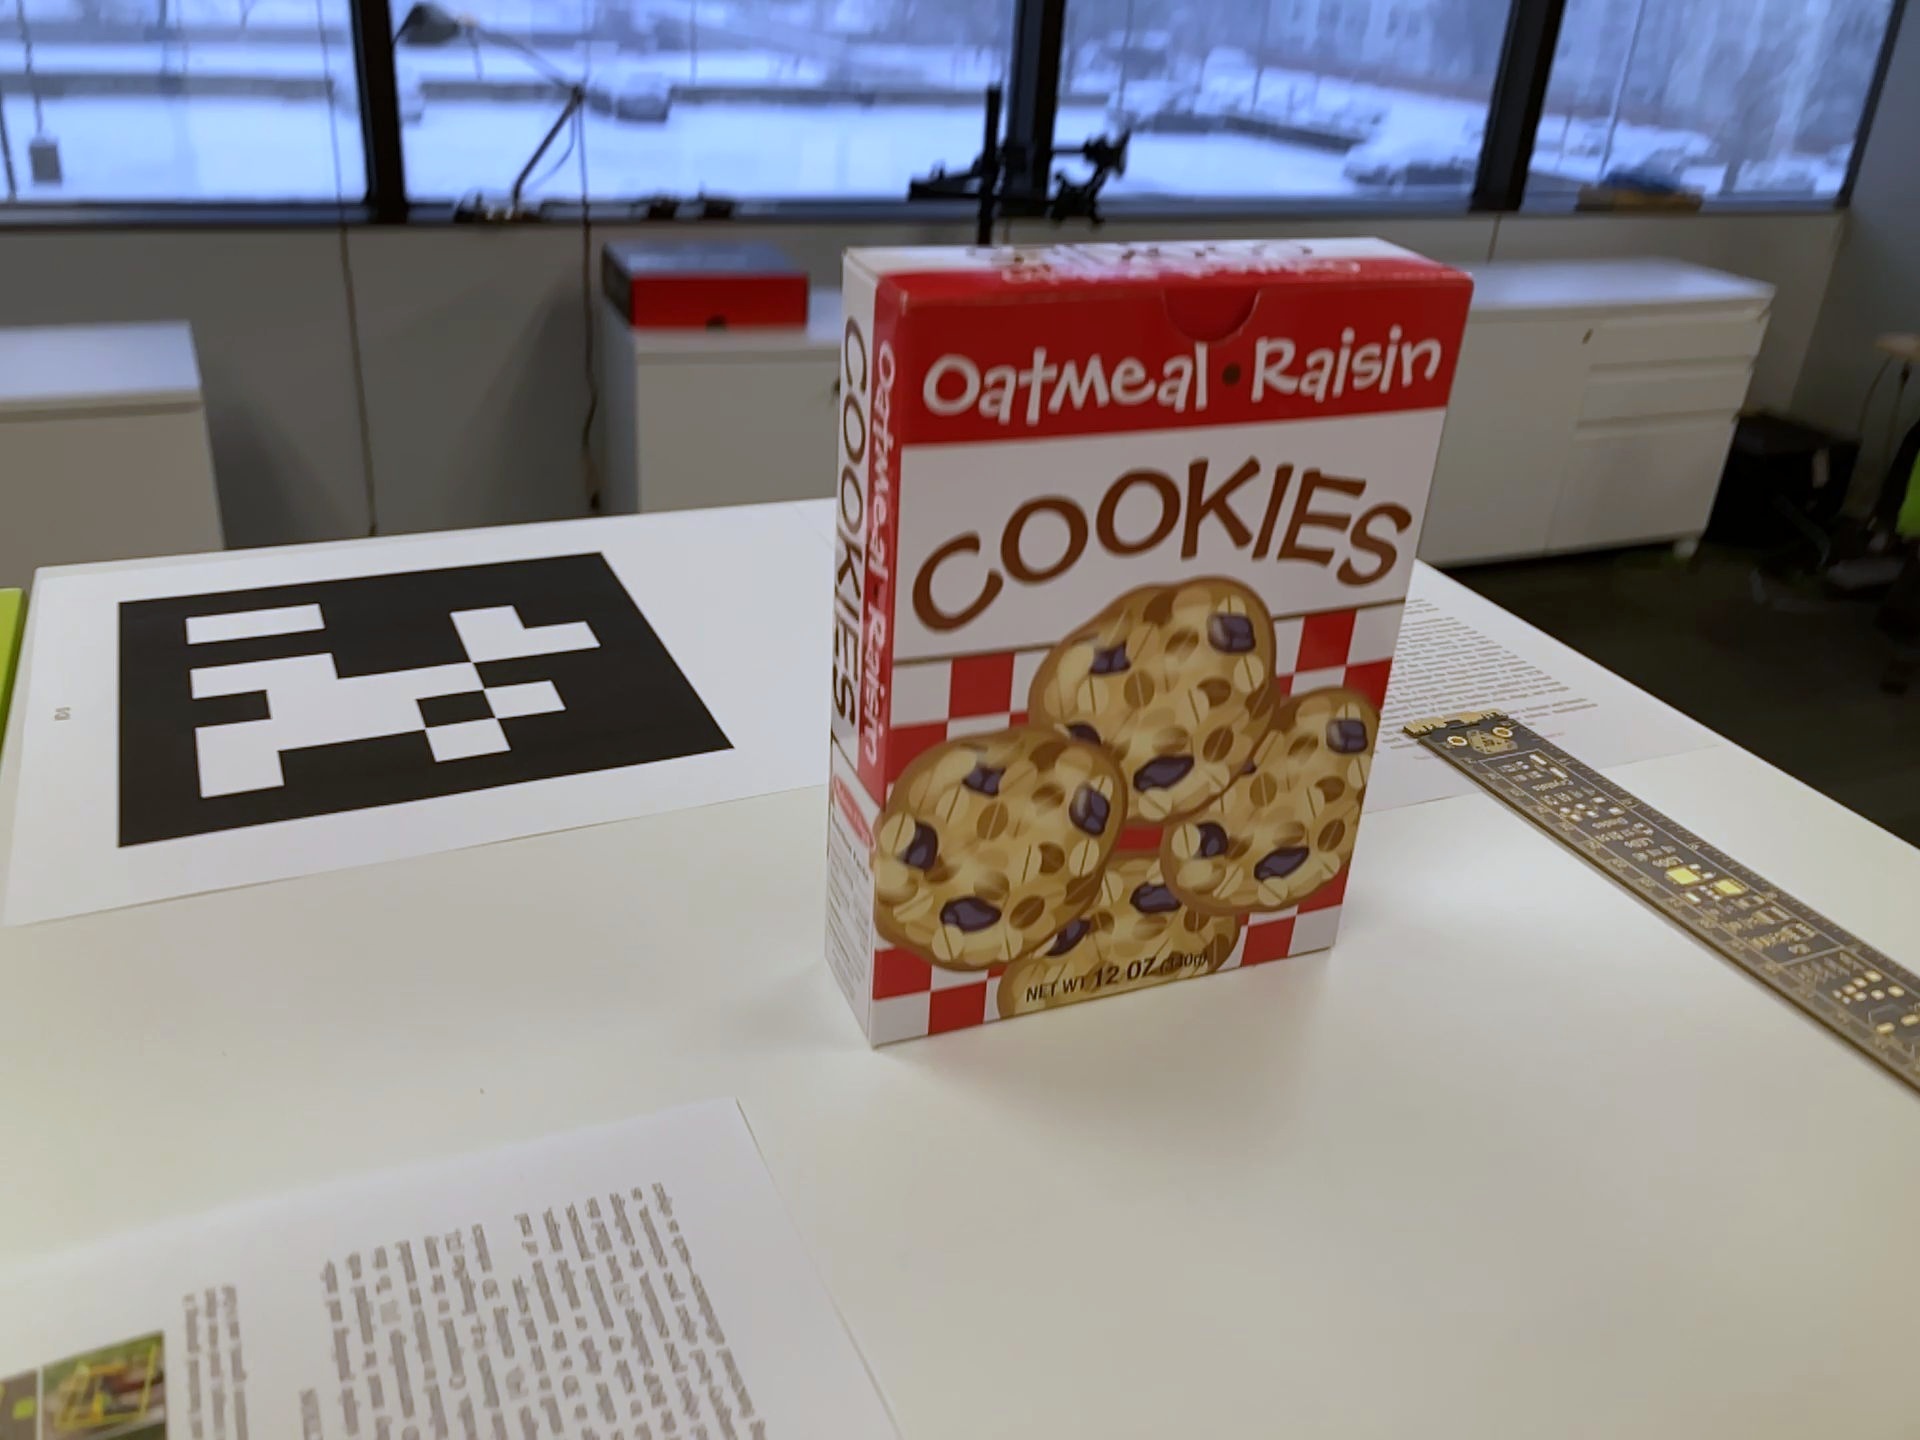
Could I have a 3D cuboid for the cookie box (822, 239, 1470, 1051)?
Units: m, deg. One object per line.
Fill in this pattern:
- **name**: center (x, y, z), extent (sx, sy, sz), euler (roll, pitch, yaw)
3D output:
- **cookie box**: center (0.035, -0.016, 0.345), extent (0.123, 0.167, 0.040), euler (-8, 29, -21)
